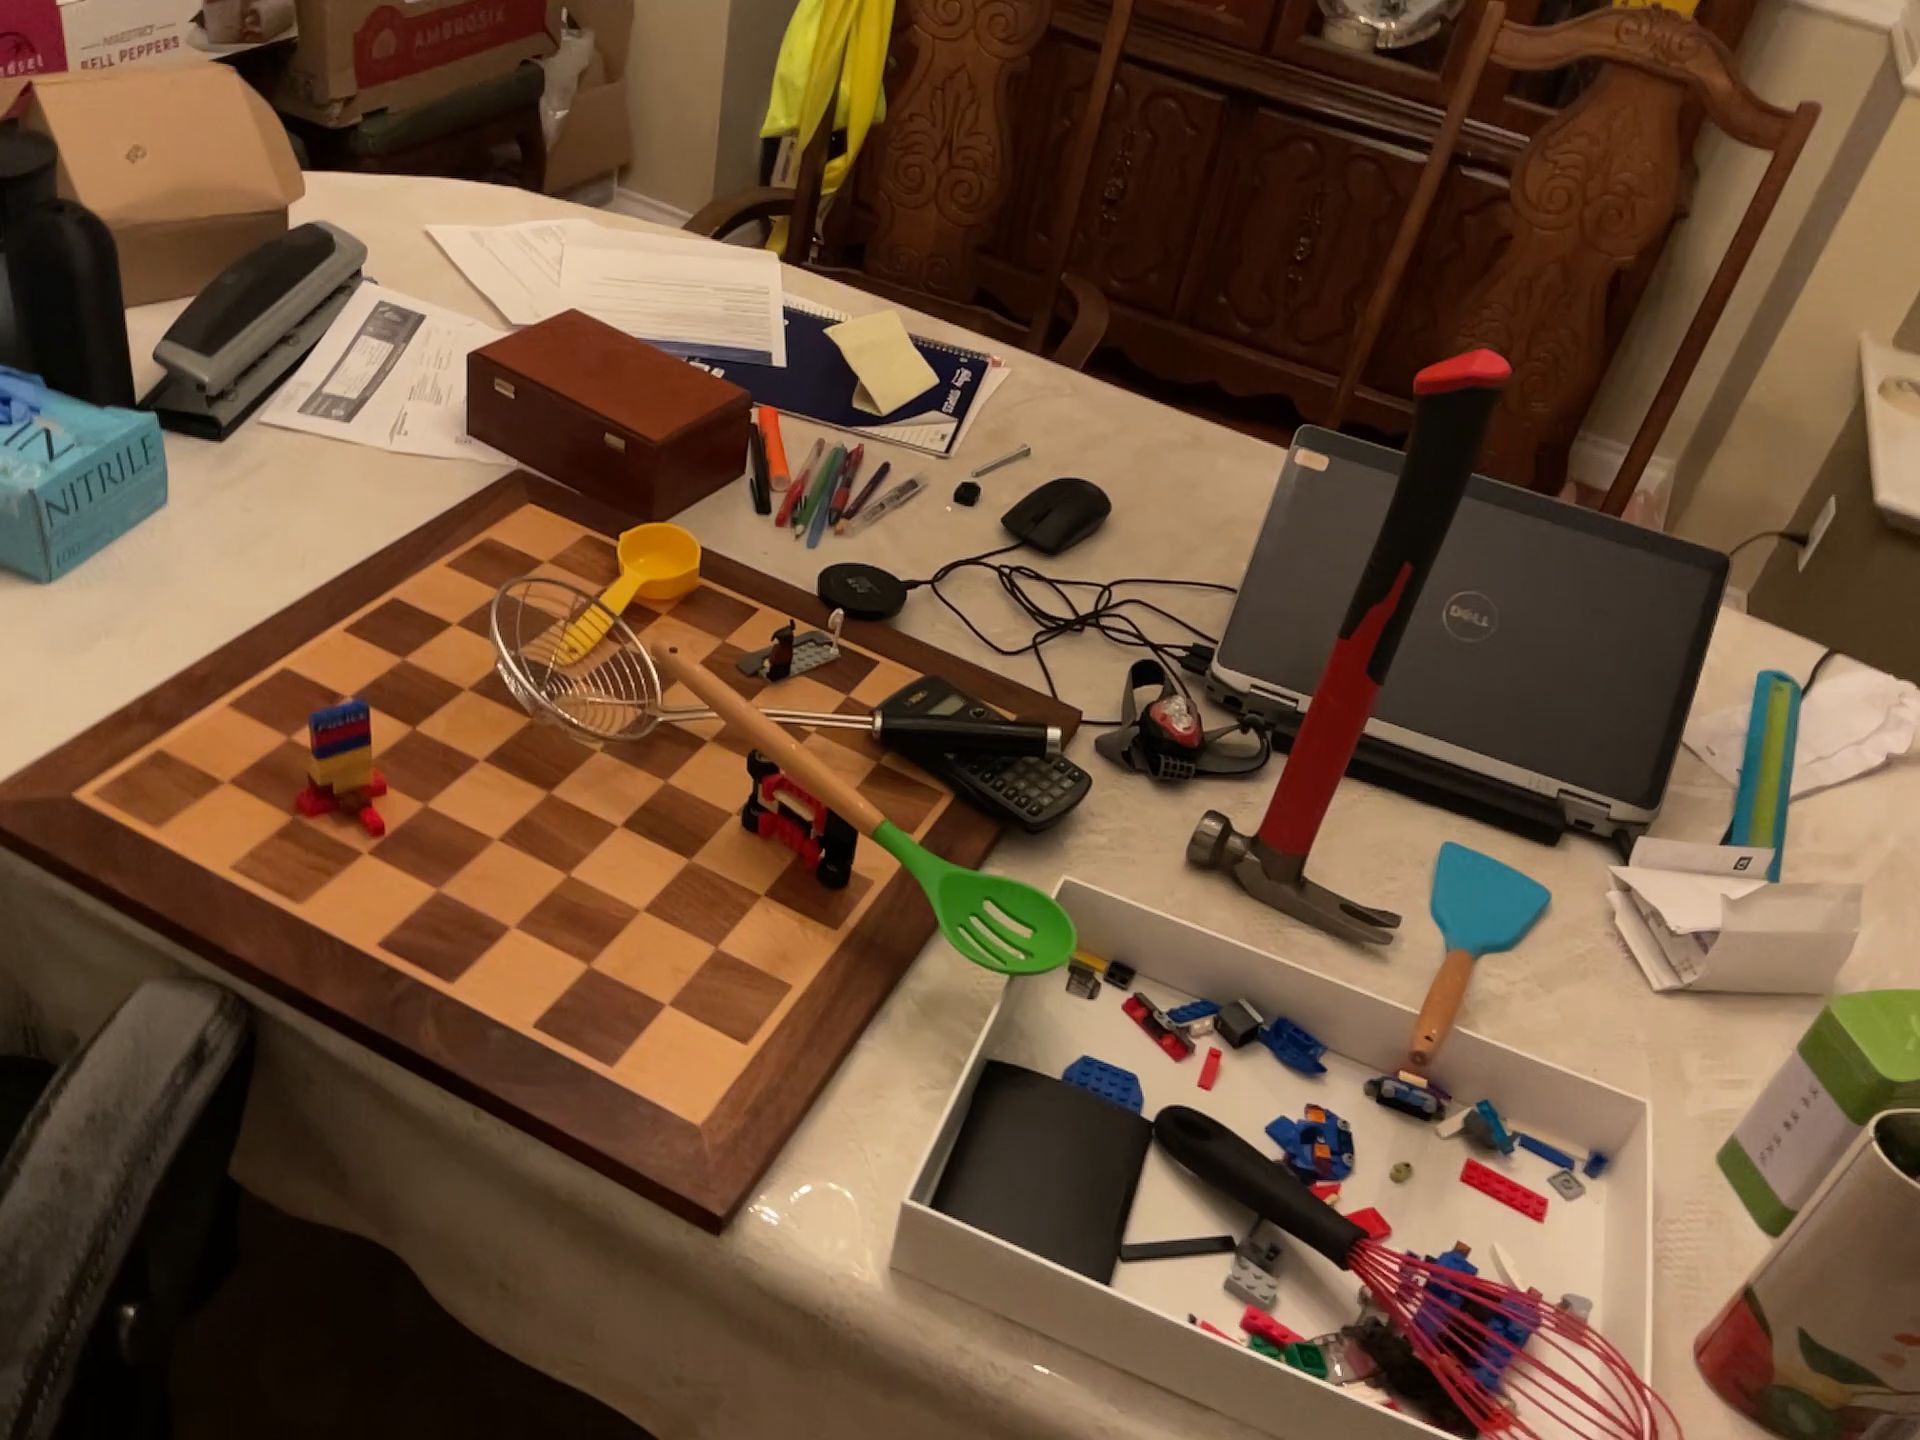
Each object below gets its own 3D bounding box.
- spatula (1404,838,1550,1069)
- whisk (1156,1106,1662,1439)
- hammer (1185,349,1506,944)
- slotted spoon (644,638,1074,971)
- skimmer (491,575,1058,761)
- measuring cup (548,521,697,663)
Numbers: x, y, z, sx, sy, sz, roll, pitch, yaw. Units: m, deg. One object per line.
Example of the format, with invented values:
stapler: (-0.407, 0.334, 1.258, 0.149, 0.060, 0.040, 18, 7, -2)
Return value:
spatula: (0.303, 0.142, 0.968, 0.082, 0.044, 0.317, 28, 19, 17)
whisk: (0.209, 0.273, 0.783, 0.073, 0.073, 0.296, 1, 21, -45)
hammer: (0.250, -0.031, 0.939, 0.143, 0.386, 0.038, 25, 39, 16)
slotted spoon: (-0.067, 0.046, 0.923, 0.314, 0.031, 0.070, 37, 45, 16)
skimmer: (-0.114, -0.025, 1.020, 0.363, 0.090, 0.127, 6, 36, -3)
measuring cup: (-0.243, -0.084, 1.130, 0.062, 0.029, 0.156, 25, 51, 11)
